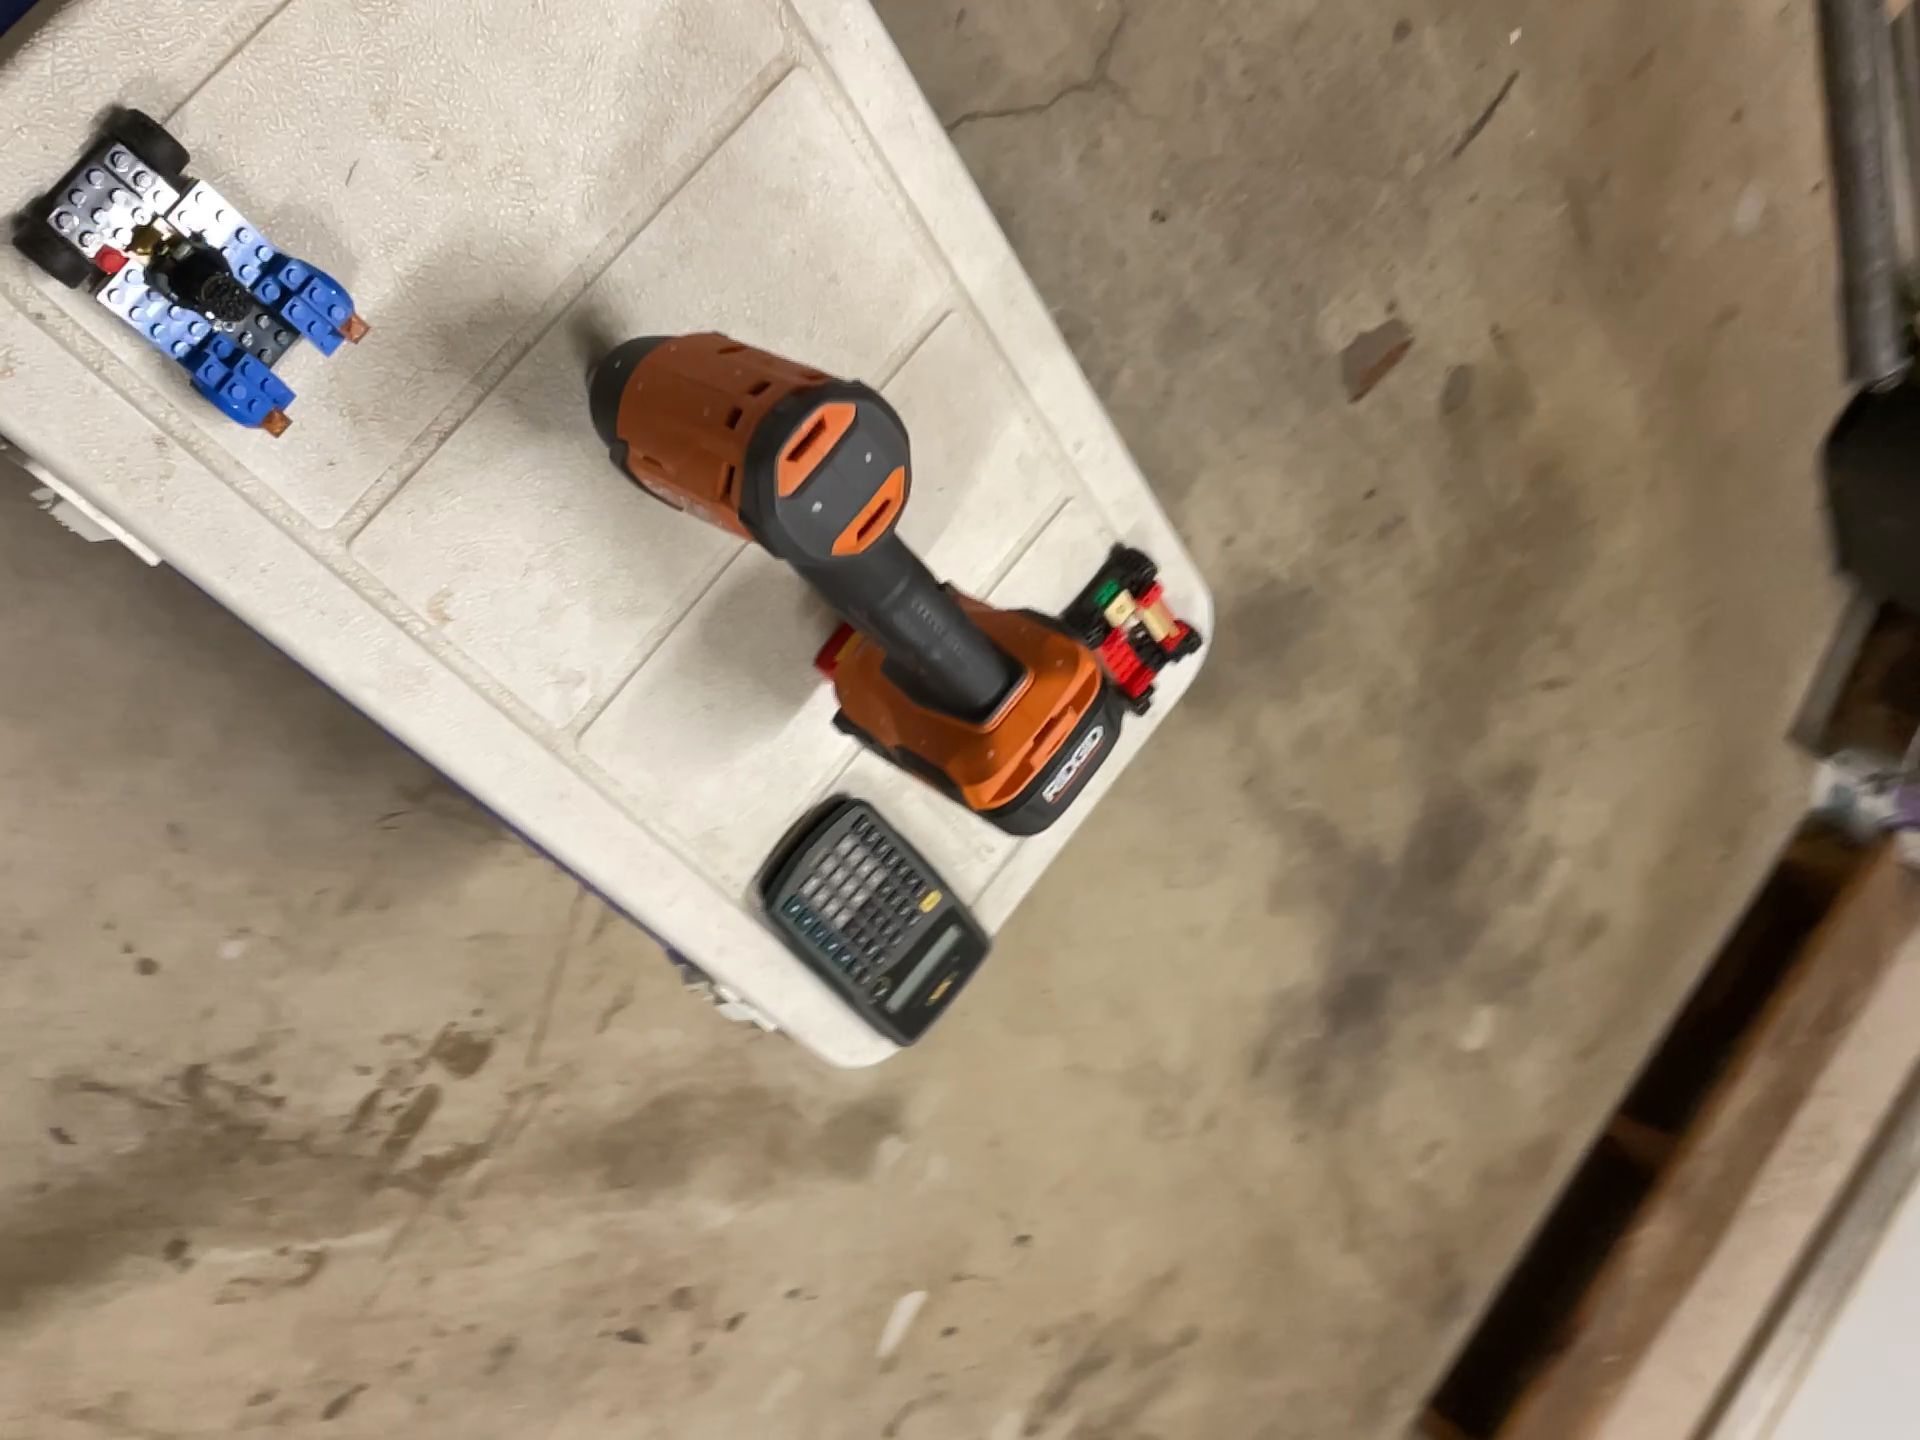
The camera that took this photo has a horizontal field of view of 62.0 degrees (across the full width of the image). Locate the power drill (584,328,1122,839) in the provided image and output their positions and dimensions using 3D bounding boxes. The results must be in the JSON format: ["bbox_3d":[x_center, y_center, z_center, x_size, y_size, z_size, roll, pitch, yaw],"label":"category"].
[{"bbox_3d":[-0.047,-0.059,0.613,0.084,0.164,0.226,-51,135,-9],"label":"power drill"}]
